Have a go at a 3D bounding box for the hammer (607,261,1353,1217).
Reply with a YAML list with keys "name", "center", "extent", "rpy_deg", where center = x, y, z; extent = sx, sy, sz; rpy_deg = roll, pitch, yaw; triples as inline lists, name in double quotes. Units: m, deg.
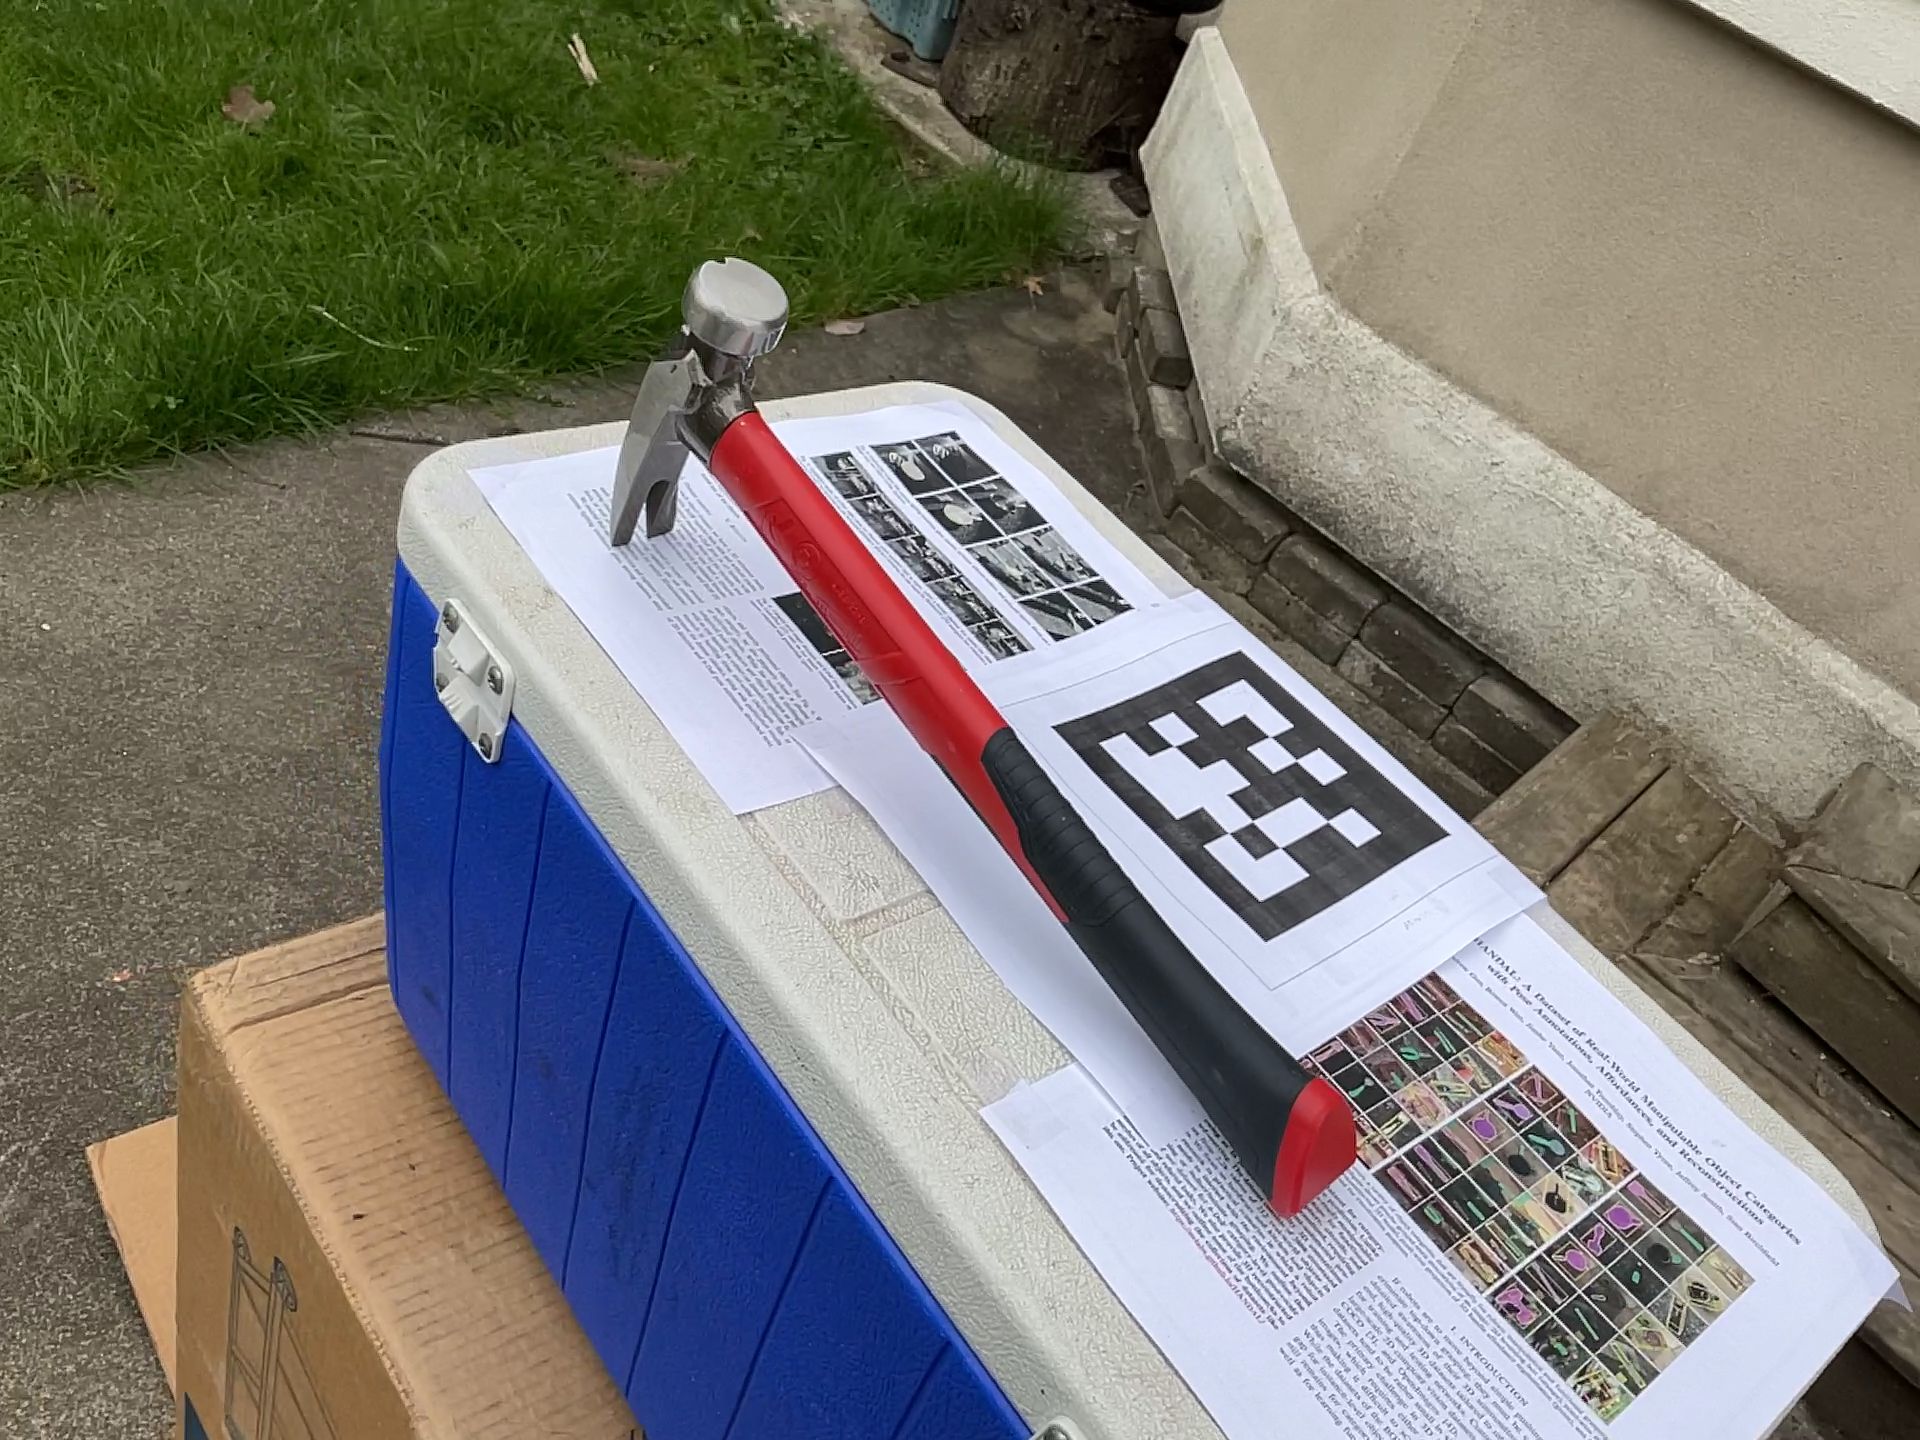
- name: "hammer"
  center: [-0.005, 0.016, 0.584]
  extent: [0.038, 0.143, 0.386]
  rpy_deg: [-23, 68, -40]
